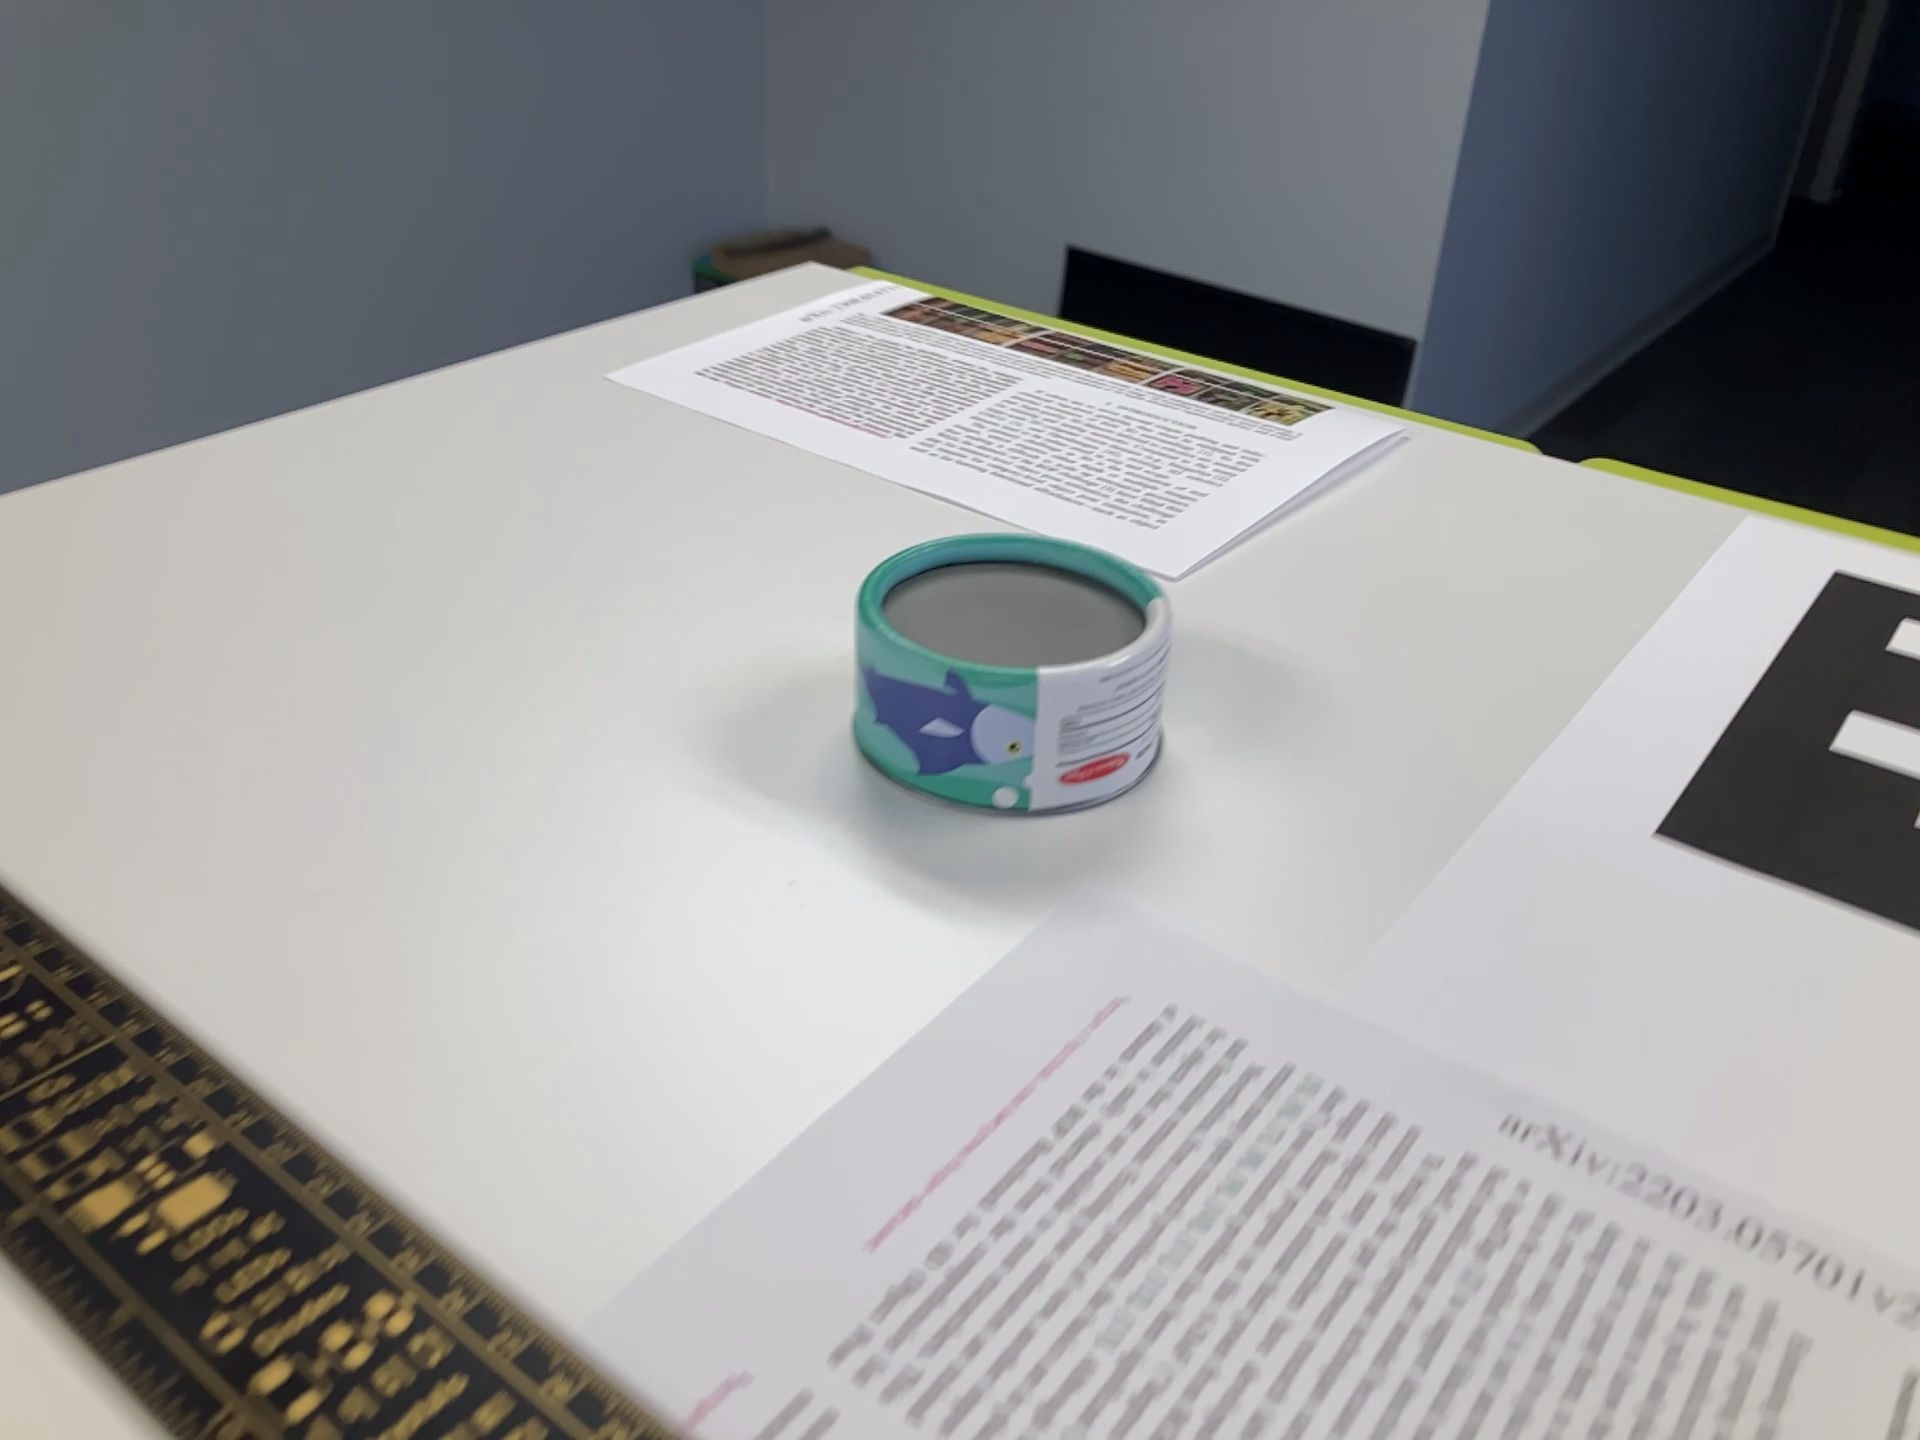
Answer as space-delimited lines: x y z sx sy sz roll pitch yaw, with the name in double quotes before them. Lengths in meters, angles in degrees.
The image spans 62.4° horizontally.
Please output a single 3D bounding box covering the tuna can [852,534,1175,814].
"tuna can" 0.009 -0.013 0.331 0.071 0.033 0.071 2 29 -1
